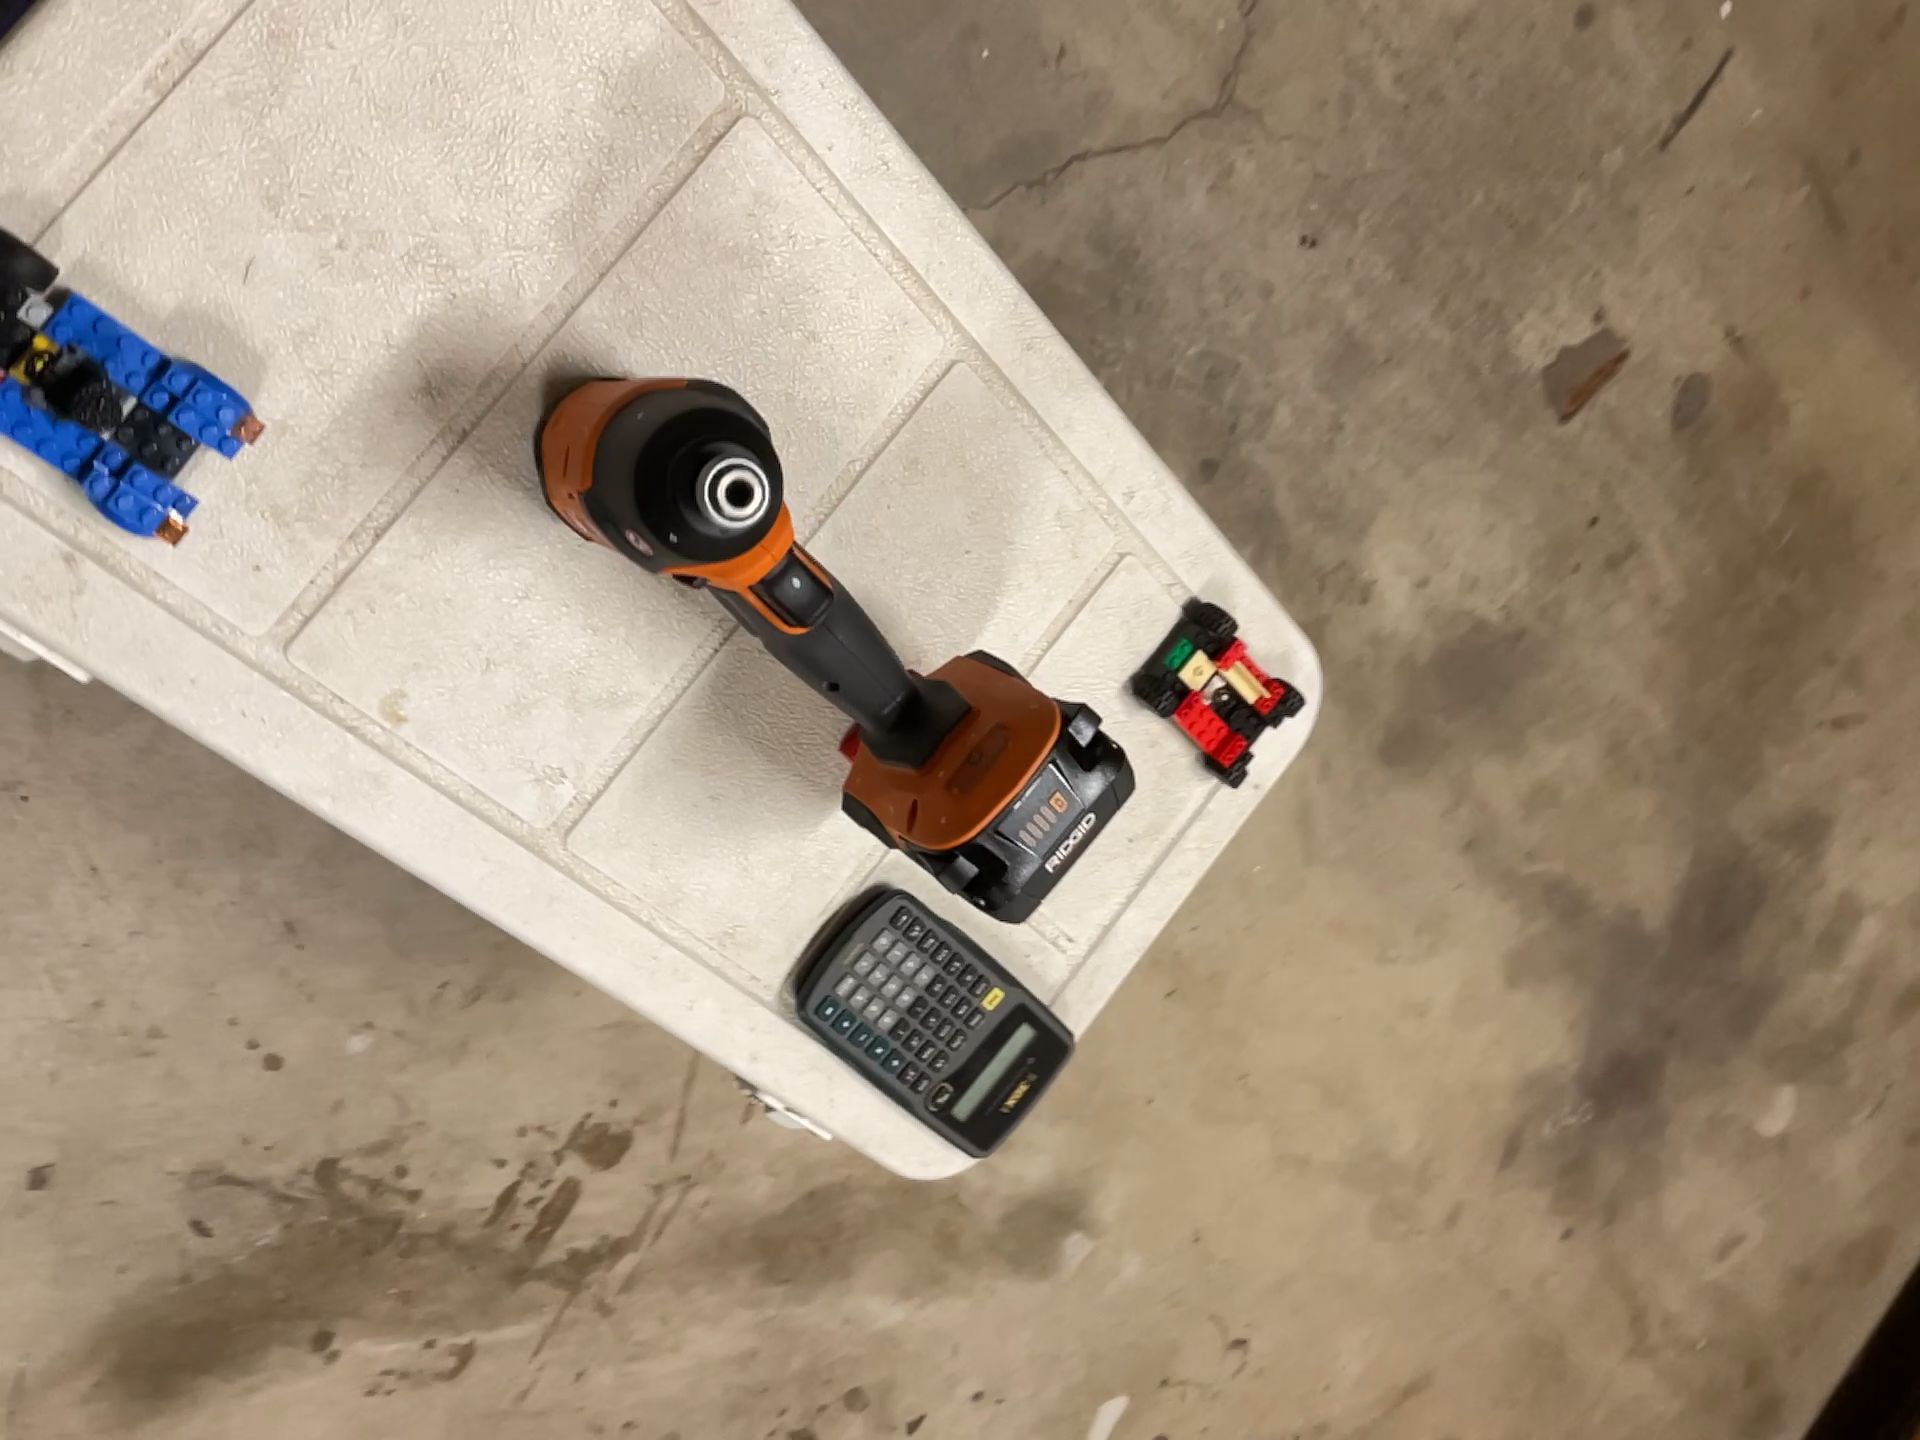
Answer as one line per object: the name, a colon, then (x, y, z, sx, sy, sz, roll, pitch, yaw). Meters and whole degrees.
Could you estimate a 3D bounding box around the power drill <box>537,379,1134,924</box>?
power drill: (-0.044, -0.029, 0.562, 0.084, 0.164, 0.226, -49, 115, -7)
